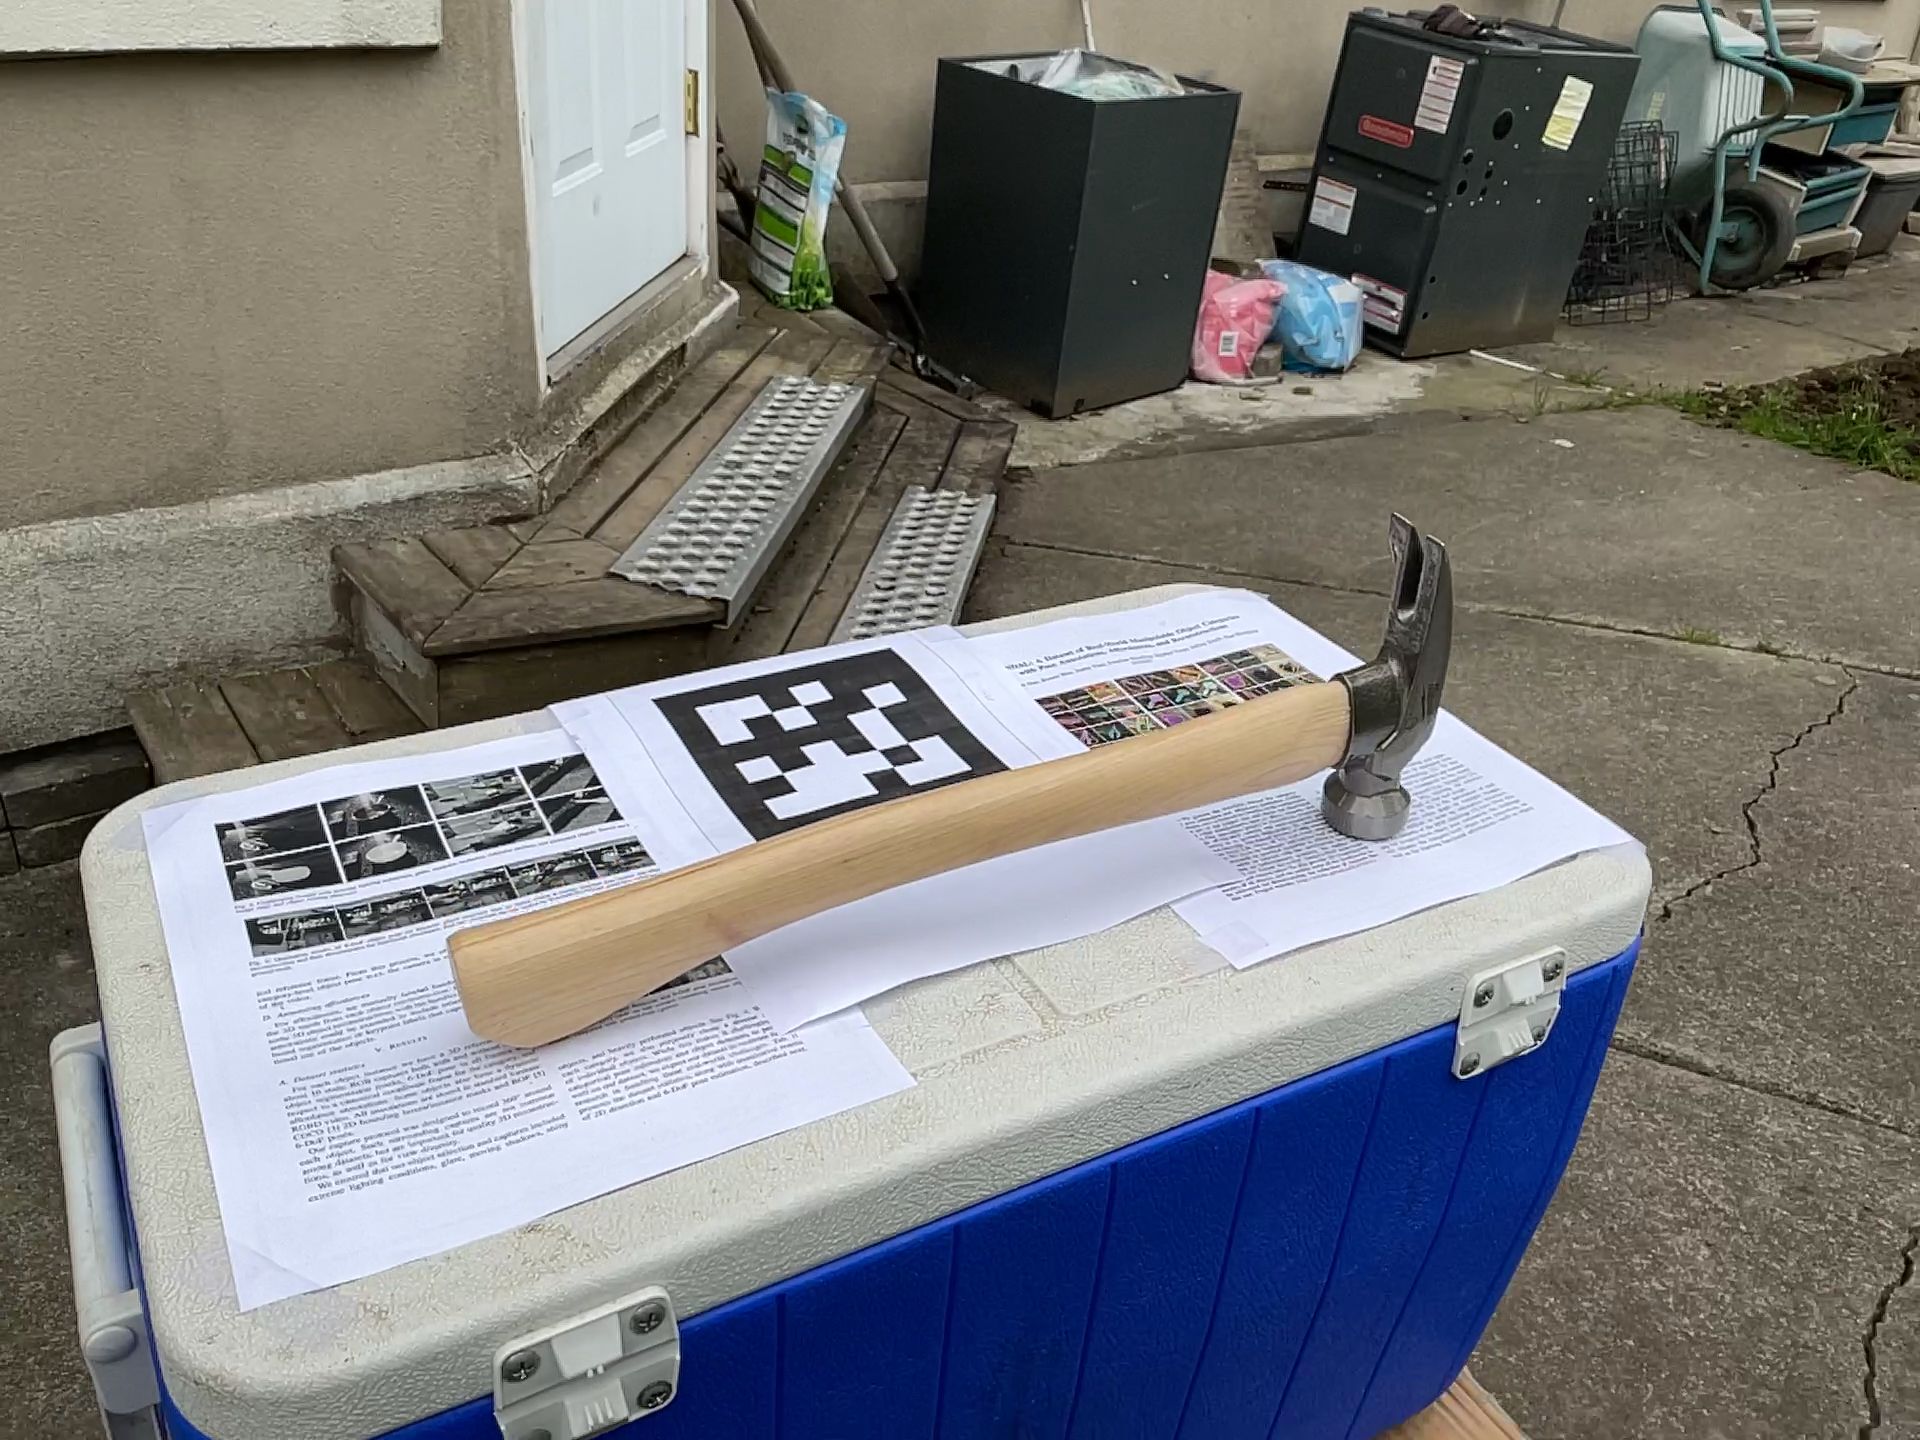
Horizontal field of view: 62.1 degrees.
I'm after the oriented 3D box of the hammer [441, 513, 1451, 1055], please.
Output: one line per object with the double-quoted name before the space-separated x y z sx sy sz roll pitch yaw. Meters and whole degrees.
"hammer" 0.013 0.031 0.606 0.410 0.146 0.038 -15 36 -22
